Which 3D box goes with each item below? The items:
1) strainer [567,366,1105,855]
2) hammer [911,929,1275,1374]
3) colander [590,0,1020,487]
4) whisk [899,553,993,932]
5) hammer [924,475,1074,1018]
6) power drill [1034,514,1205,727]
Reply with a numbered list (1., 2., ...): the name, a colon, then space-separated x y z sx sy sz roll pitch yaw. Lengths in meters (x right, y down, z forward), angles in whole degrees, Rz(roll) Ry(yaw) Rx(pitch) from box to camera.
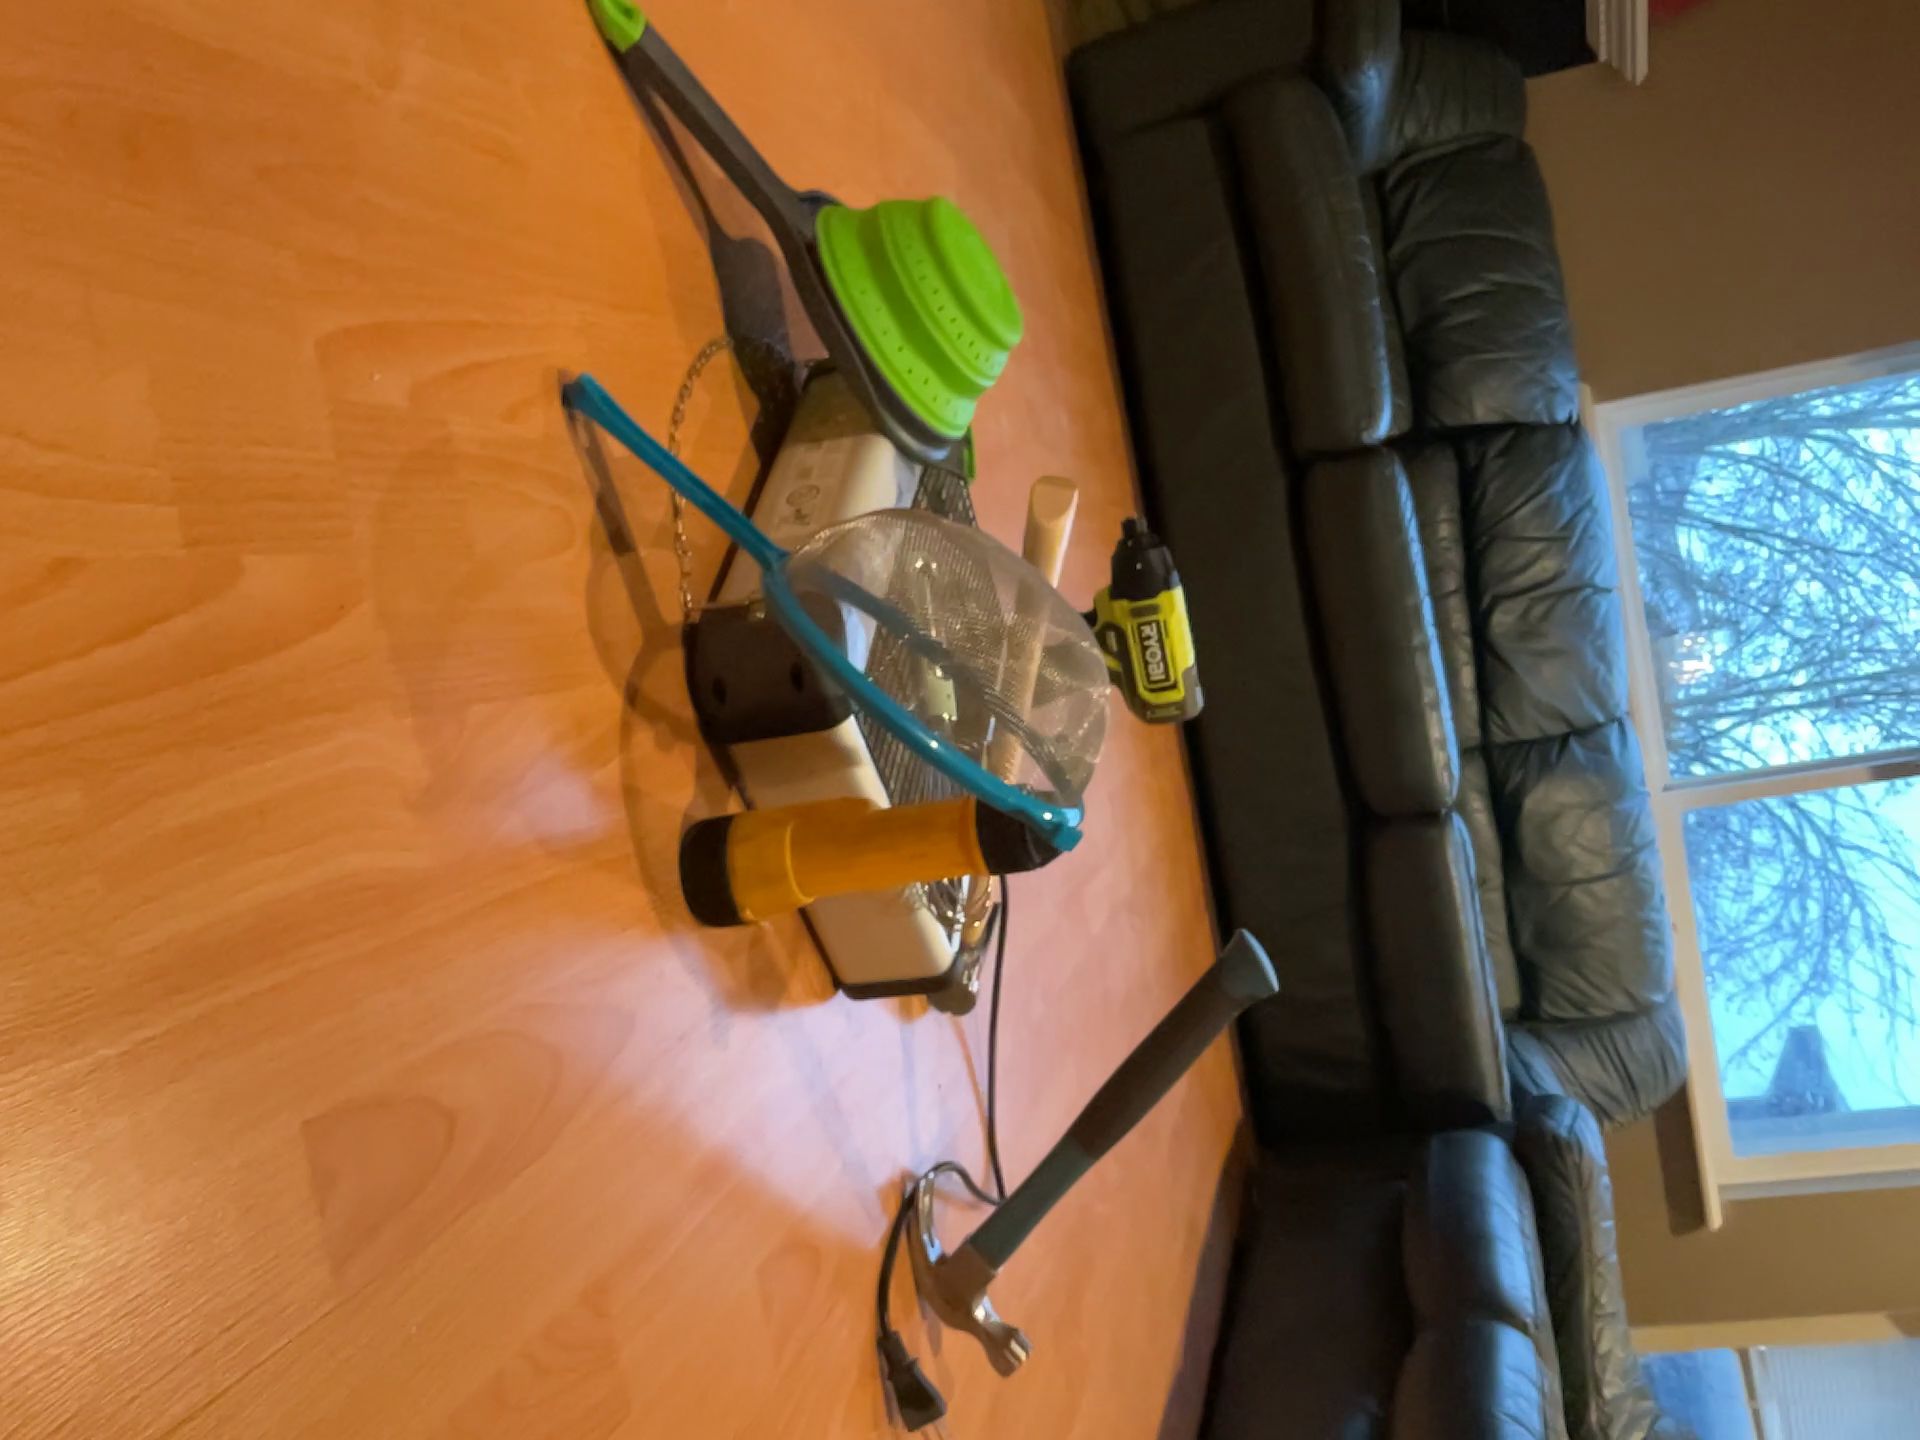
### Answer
1. strainer: -0.043 -0.086 0.818 0.340 0.095 0.211 41 11 -6
2. hammer: 0.091 0.273 1.064 0.128 0.331 0.033 42 10 12
3. colander: -0.071 -0.323 1.027 0.397 0.094 0.205 45 28 -37
4. whisk: -0.014 0.009 0.987 0.058 0.059 0.246 10 64 -42
5. hammer: 0.034 0.016 1.185 0.146 0.038 0.410 -65 167 -63
6. power drill: 0.079 -0.069 1.335 0.080 0.223 0.171 -38 117 -73
